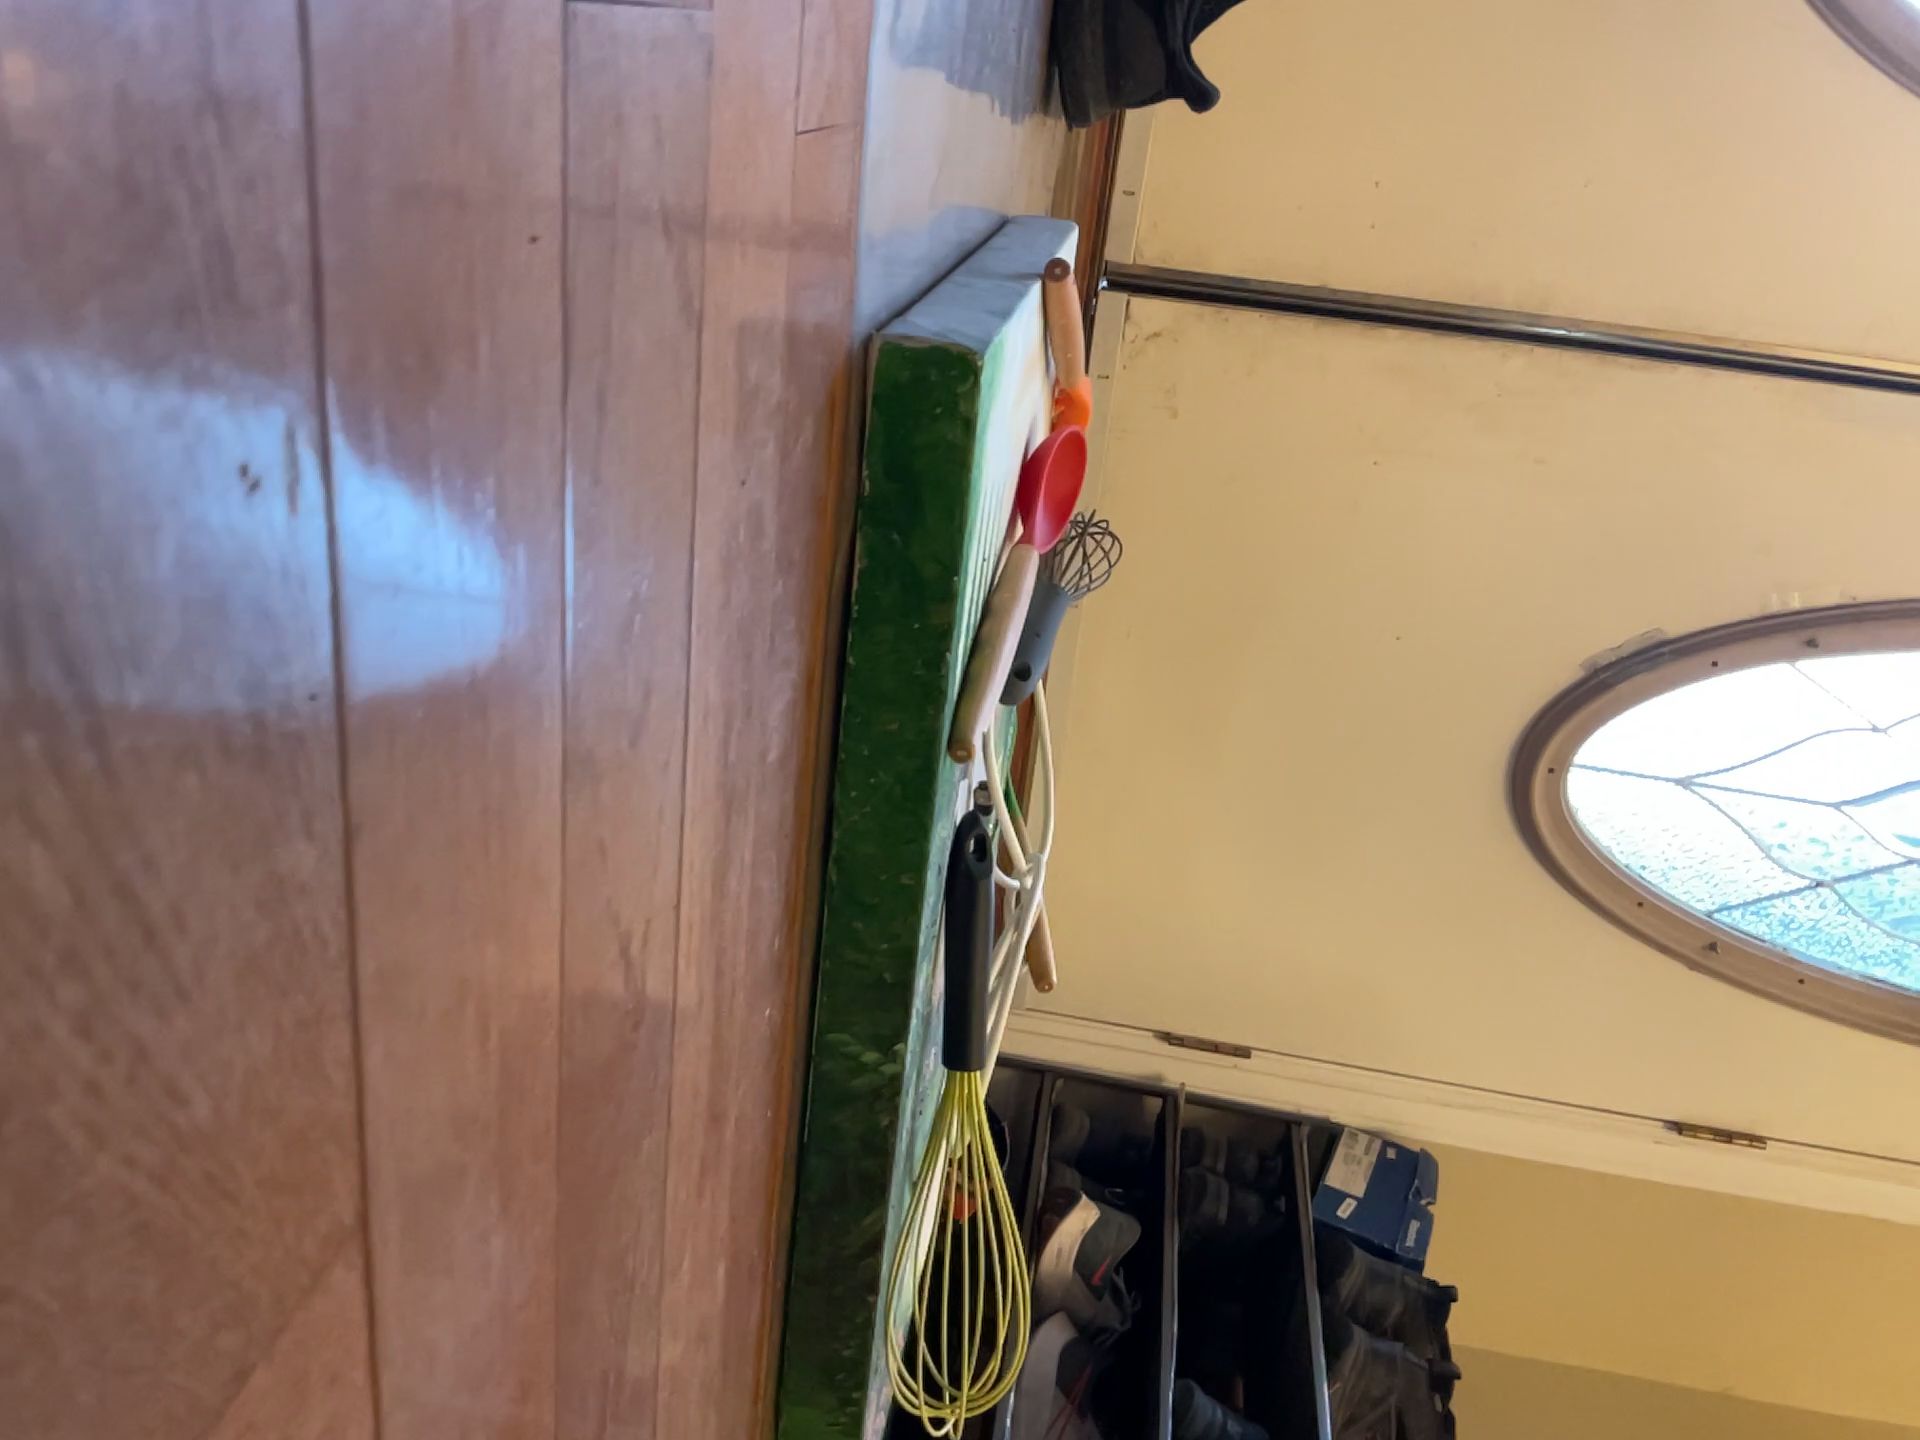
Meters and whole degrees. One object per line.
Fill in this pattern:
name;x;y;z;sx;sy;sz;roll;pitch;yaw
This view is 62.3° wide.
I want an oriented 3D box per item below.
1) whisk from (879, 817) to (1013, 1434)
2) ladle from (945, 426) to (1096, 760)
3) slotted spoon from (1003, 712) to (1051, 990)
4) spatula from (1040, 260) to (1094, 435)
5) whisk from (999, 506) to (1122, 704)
whisk;-0.003;0.202;0.789;0.080;0.067;0.311;-83;176;-84
ladle;0.029;-0.067;0.766;0.316;0.031;0.069;-68;165;-57
slotted spoon;0.038;0.082;1.065;0.314;0.031;0.070;-97;-167;-63
spatula;0.052;-0.199;0.893;0.322;0.041;0.081;22;66;-83
whisk;0.057;-0.071;0.965;0.239;0.055;0.055;-62;151;-56
